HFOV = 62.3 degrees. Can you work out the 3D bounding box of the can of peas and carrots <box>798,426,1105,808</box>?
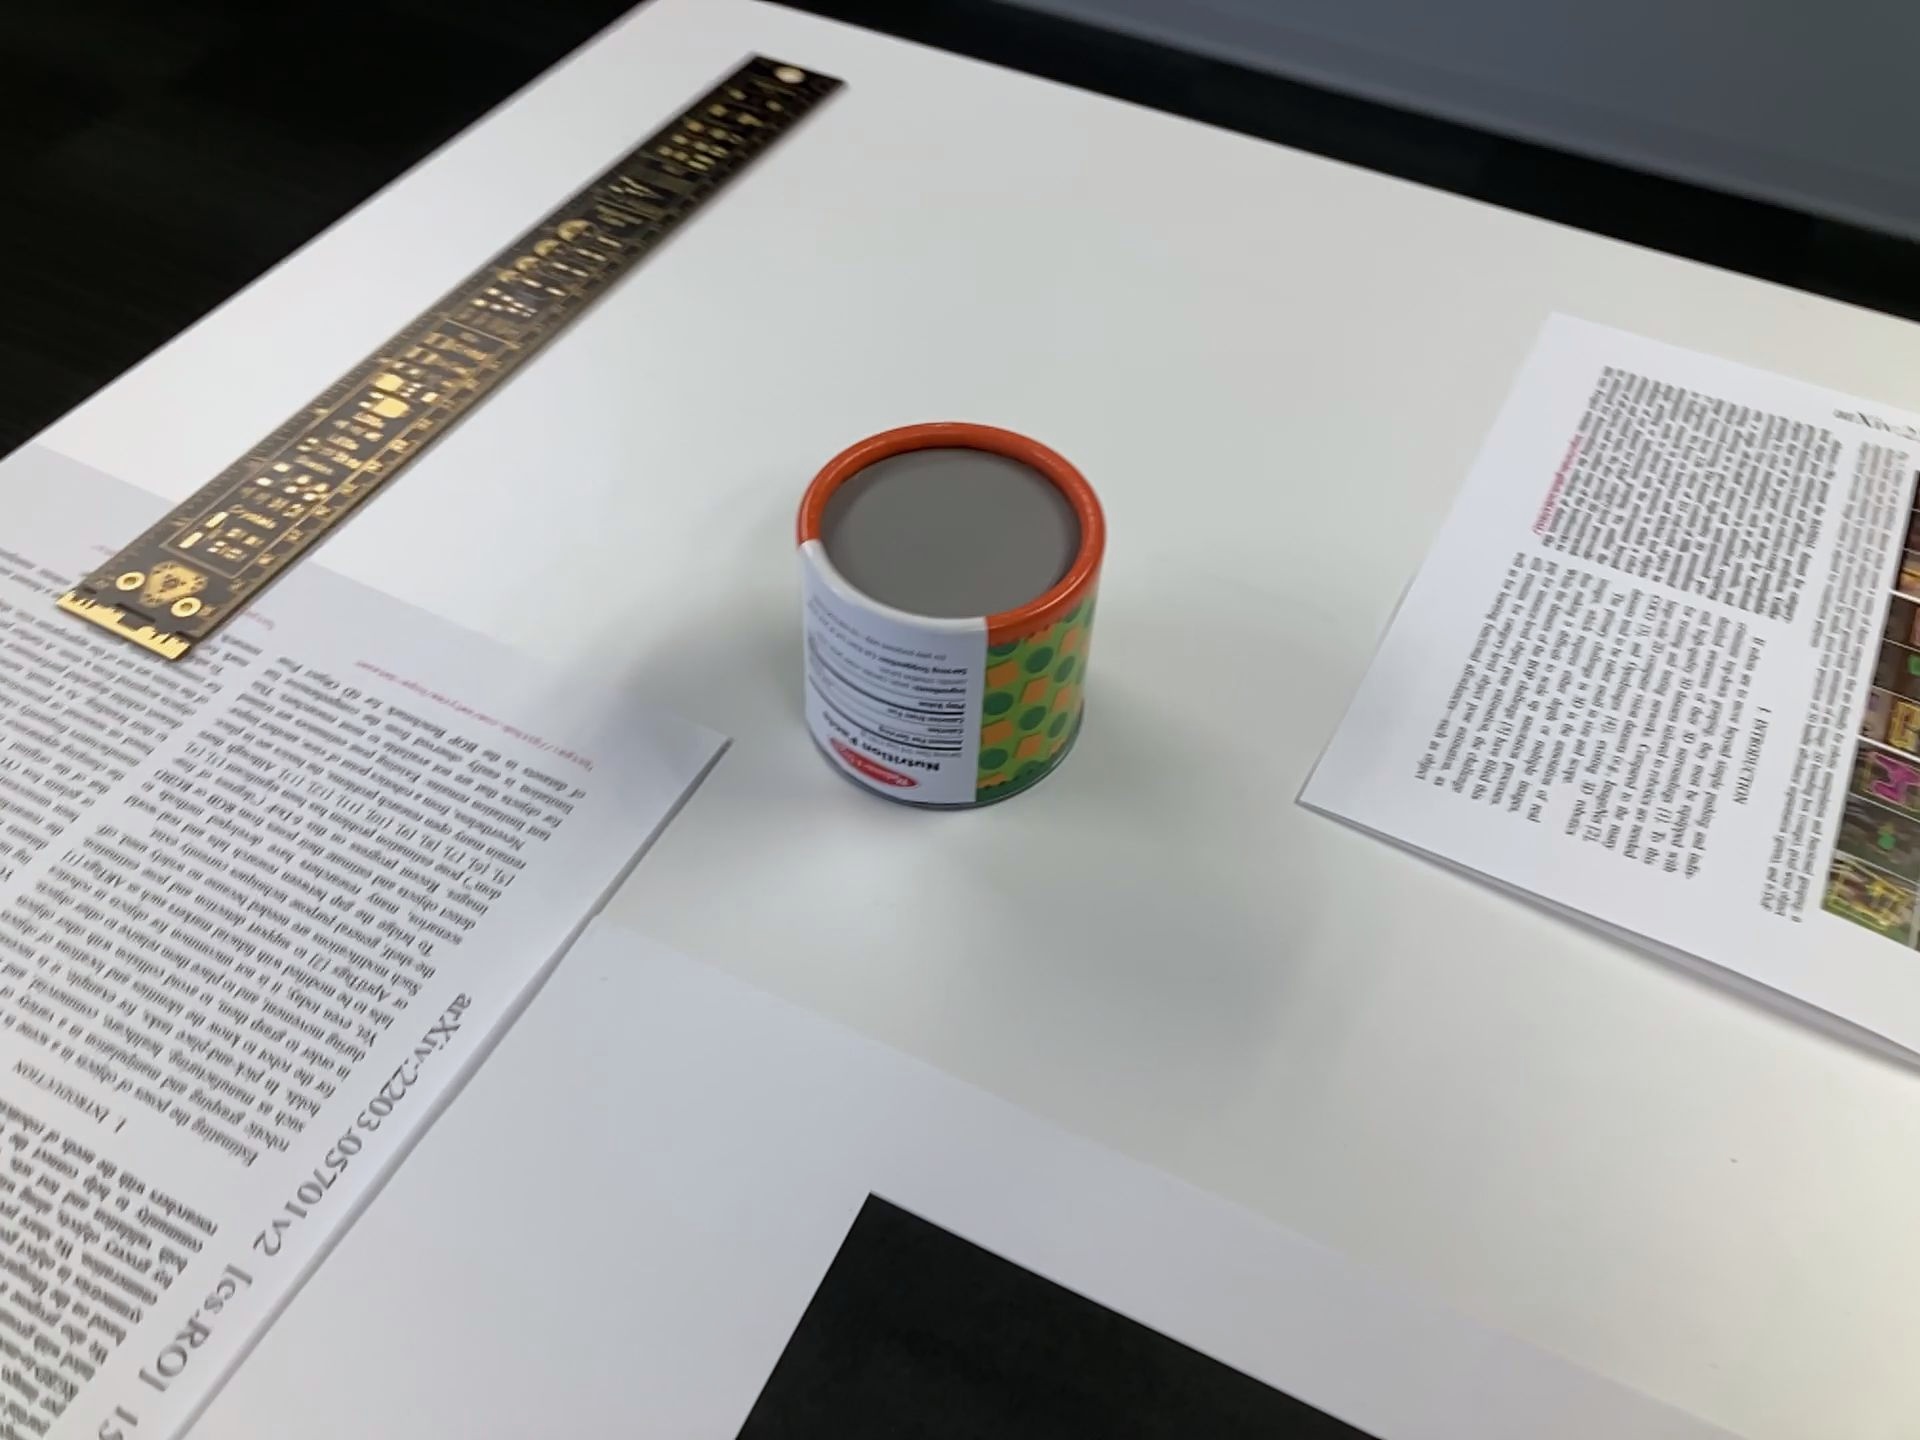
[{"bbox_3d":[-0.002,-0.025,0.358,0.071,0.059,0.071,2,49,-2],"label":"can of peas and carrots"}]
